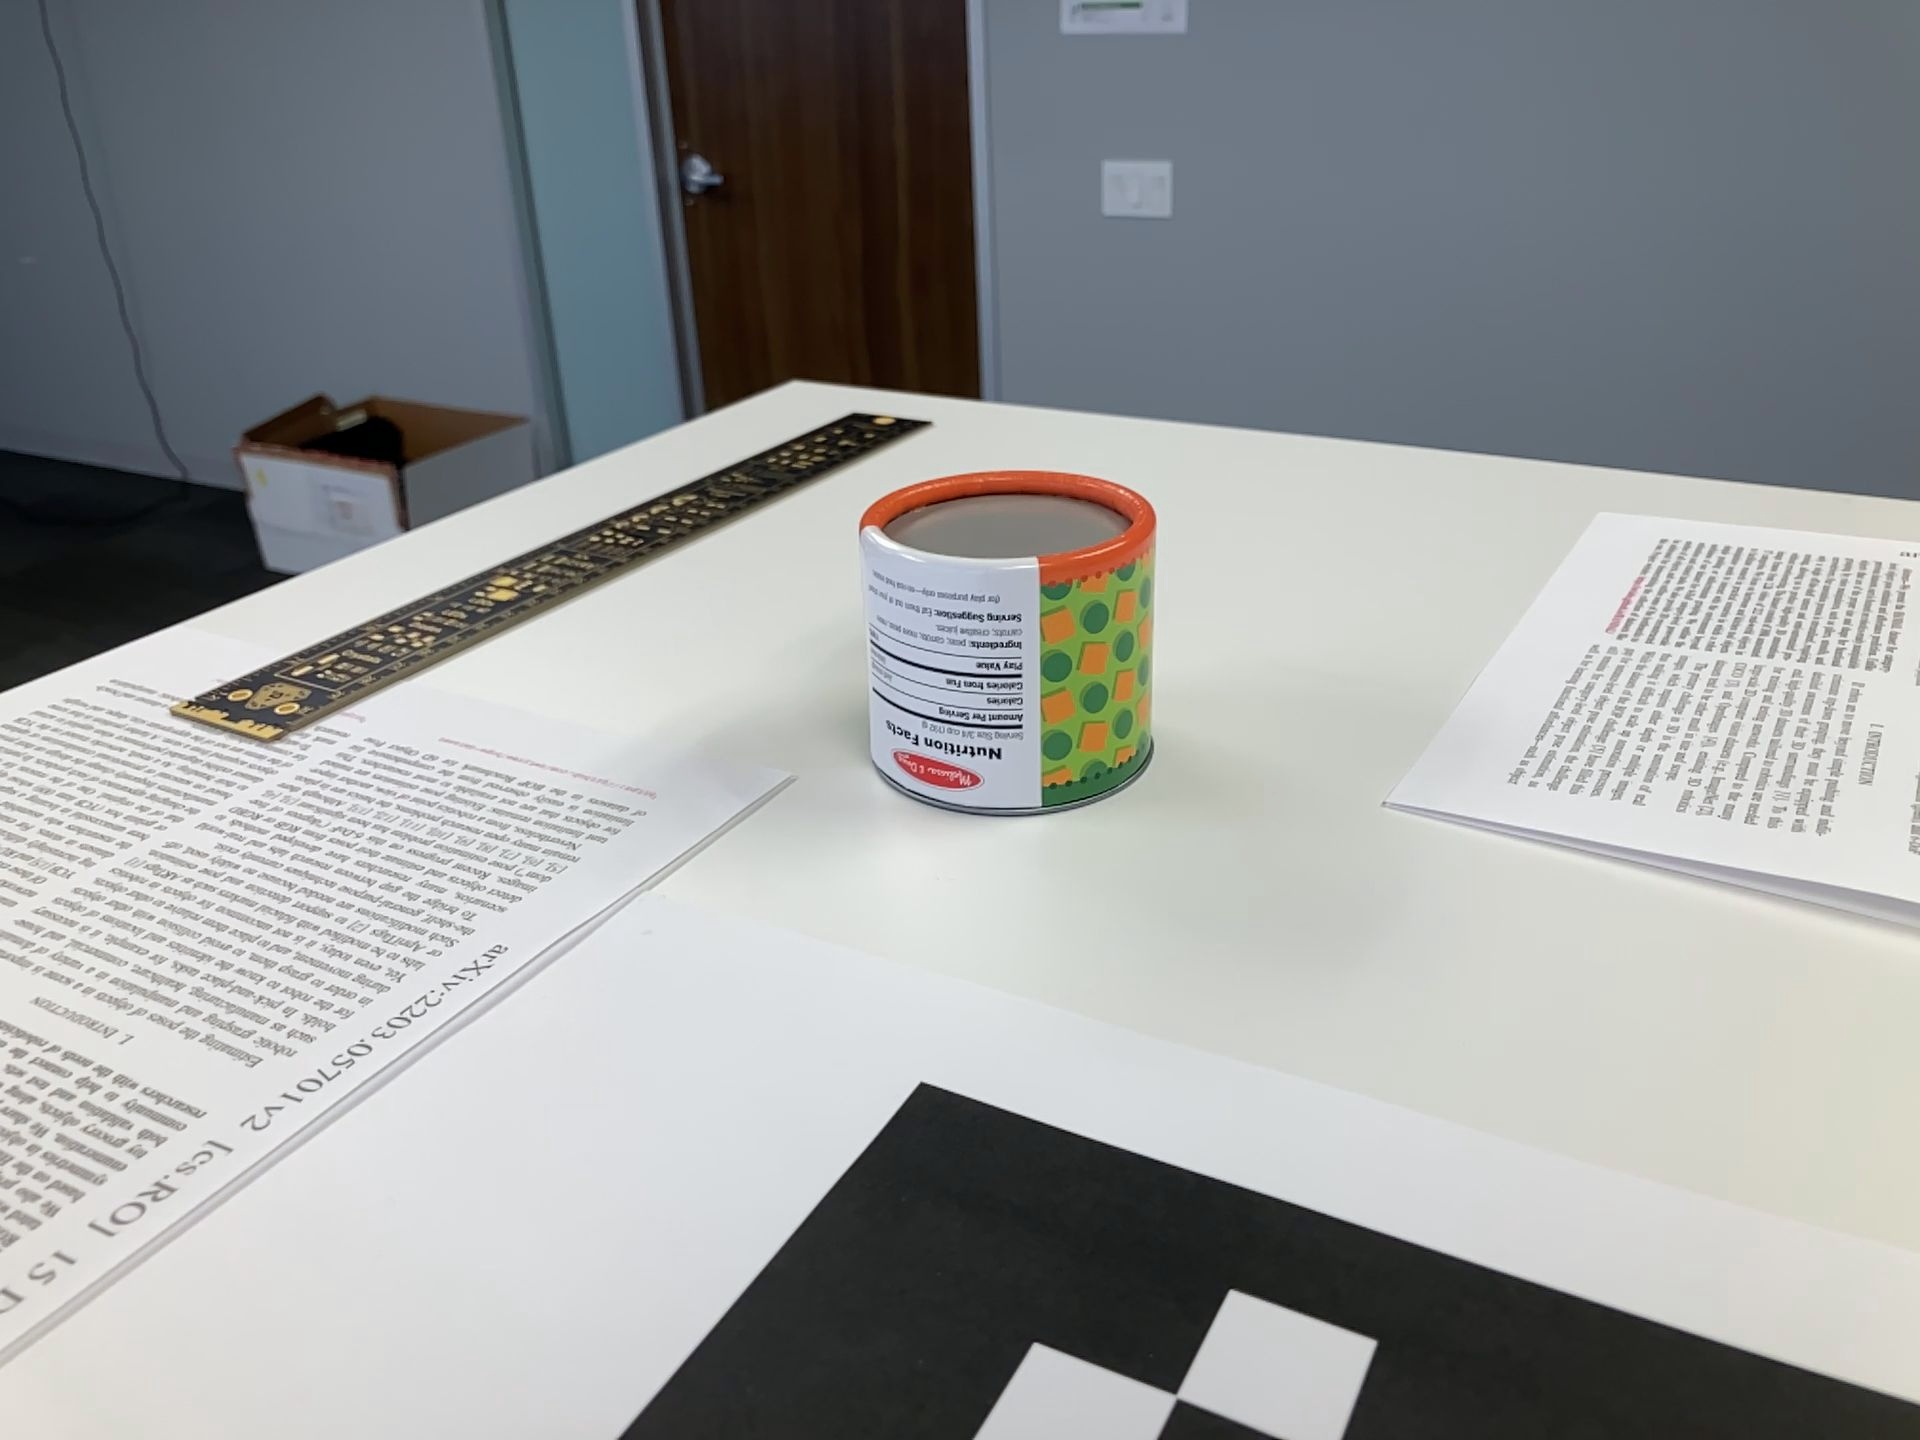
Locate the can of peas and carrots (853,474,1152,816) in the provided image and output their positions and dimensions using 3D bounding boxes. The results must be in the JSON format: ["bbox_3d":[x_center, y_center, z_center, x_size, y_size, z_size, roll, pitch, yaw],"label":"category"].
[{"bbox_3d":[0.011,-0.020,0.360,0.071,0.059,0.071,-1,25,1],"label":"can of peas and carrots"}]
